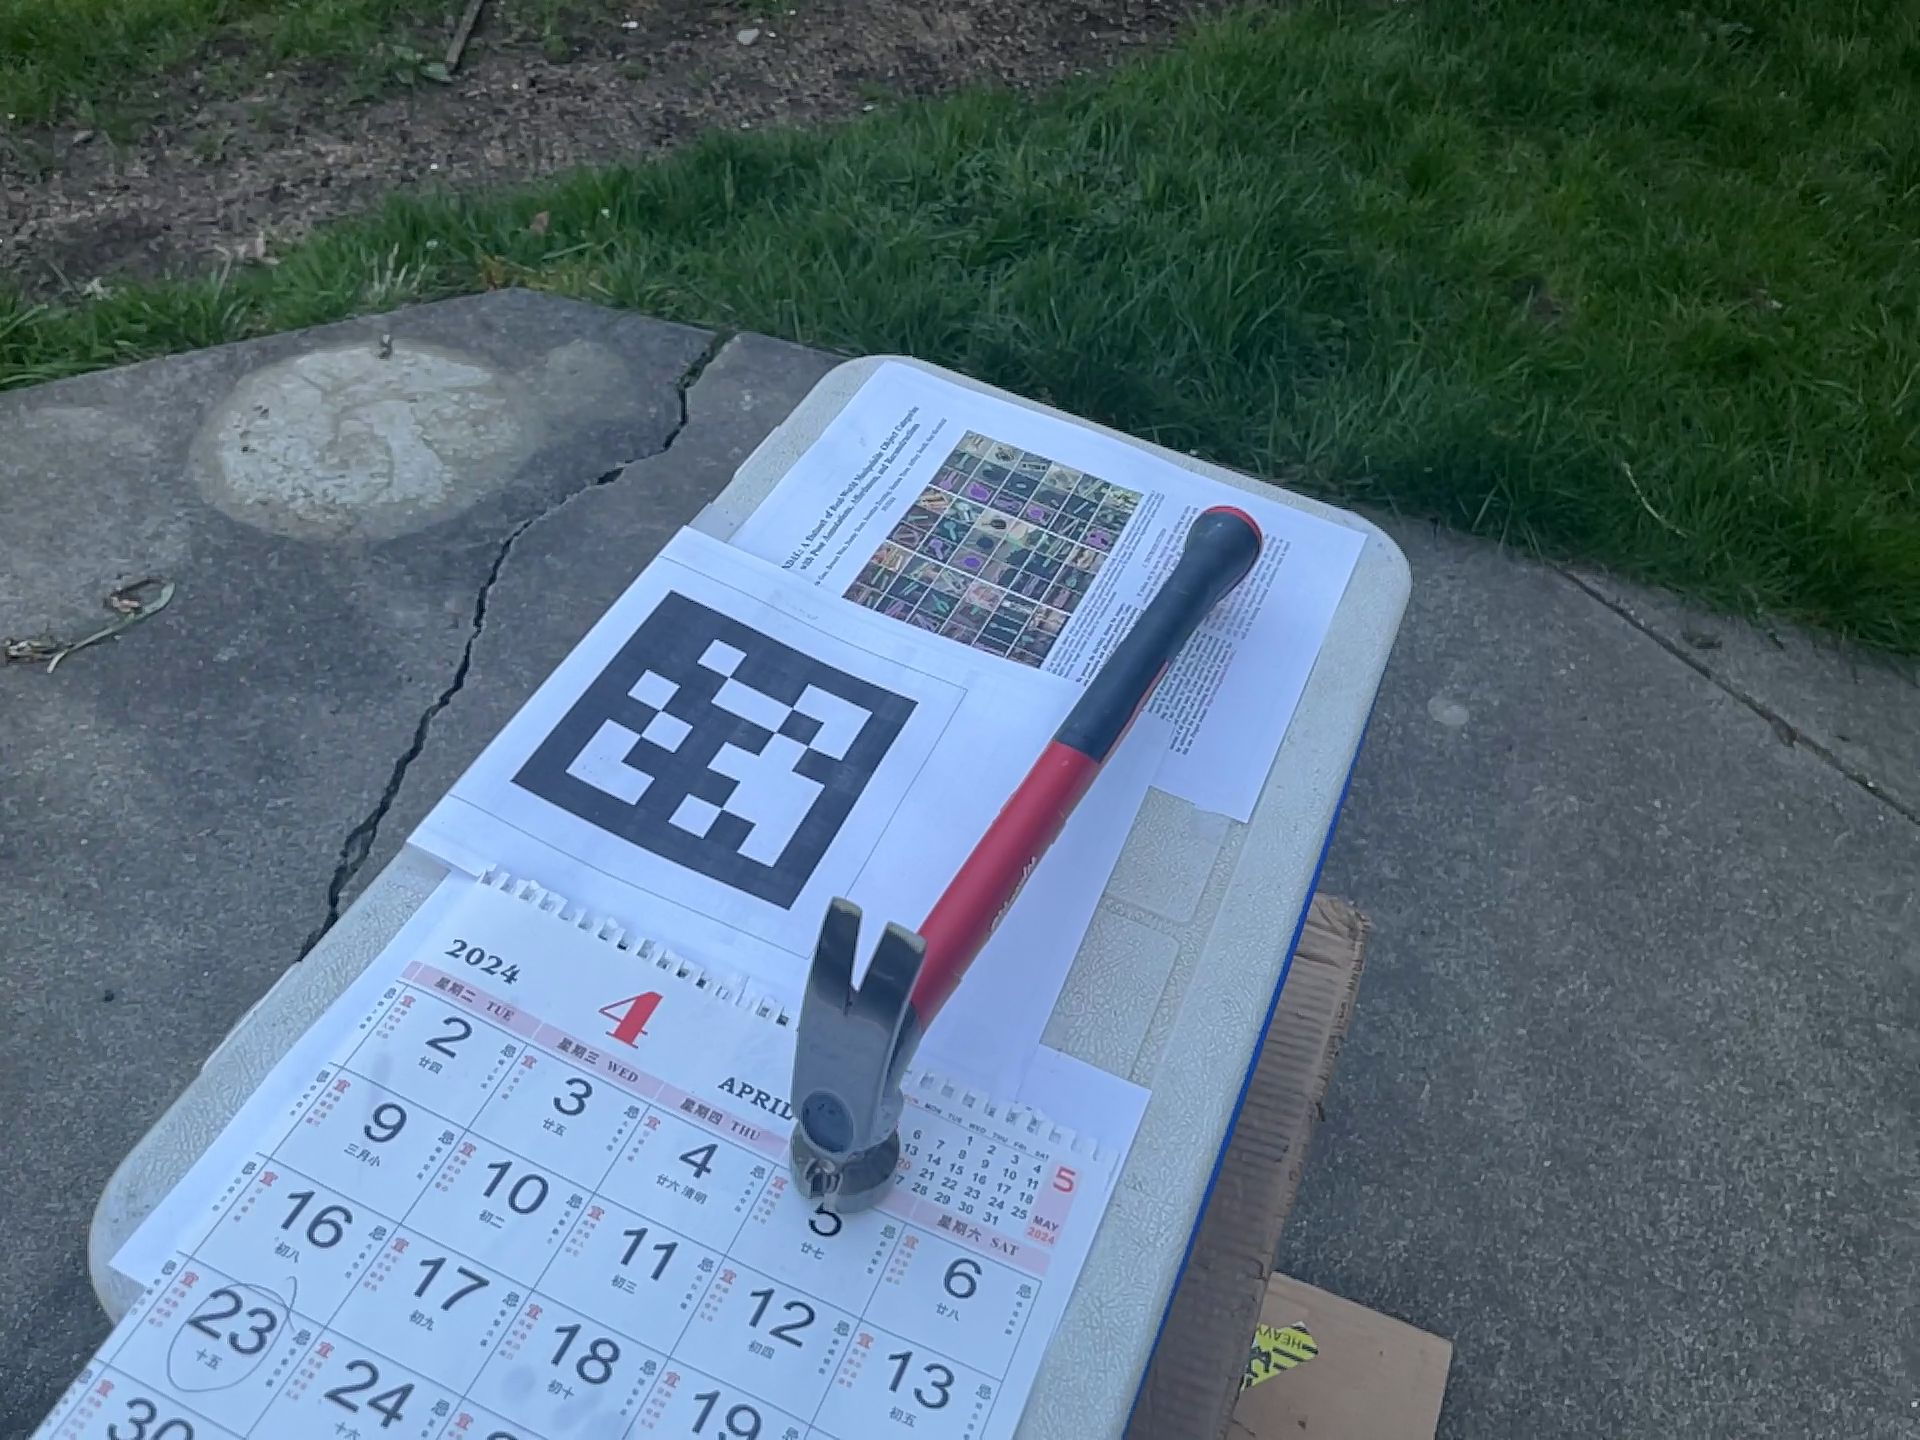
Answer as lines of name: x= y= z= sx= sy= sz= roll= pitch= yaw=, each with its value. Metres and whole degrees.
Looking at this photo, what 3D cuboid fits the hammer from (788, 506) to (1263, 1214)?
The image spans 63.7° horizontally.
hammer: x=0.047 y=0.007 z=0.612 sx=0.038 sy=0.143 sz=0.387 roll=25 pitch=45 yaw=14
